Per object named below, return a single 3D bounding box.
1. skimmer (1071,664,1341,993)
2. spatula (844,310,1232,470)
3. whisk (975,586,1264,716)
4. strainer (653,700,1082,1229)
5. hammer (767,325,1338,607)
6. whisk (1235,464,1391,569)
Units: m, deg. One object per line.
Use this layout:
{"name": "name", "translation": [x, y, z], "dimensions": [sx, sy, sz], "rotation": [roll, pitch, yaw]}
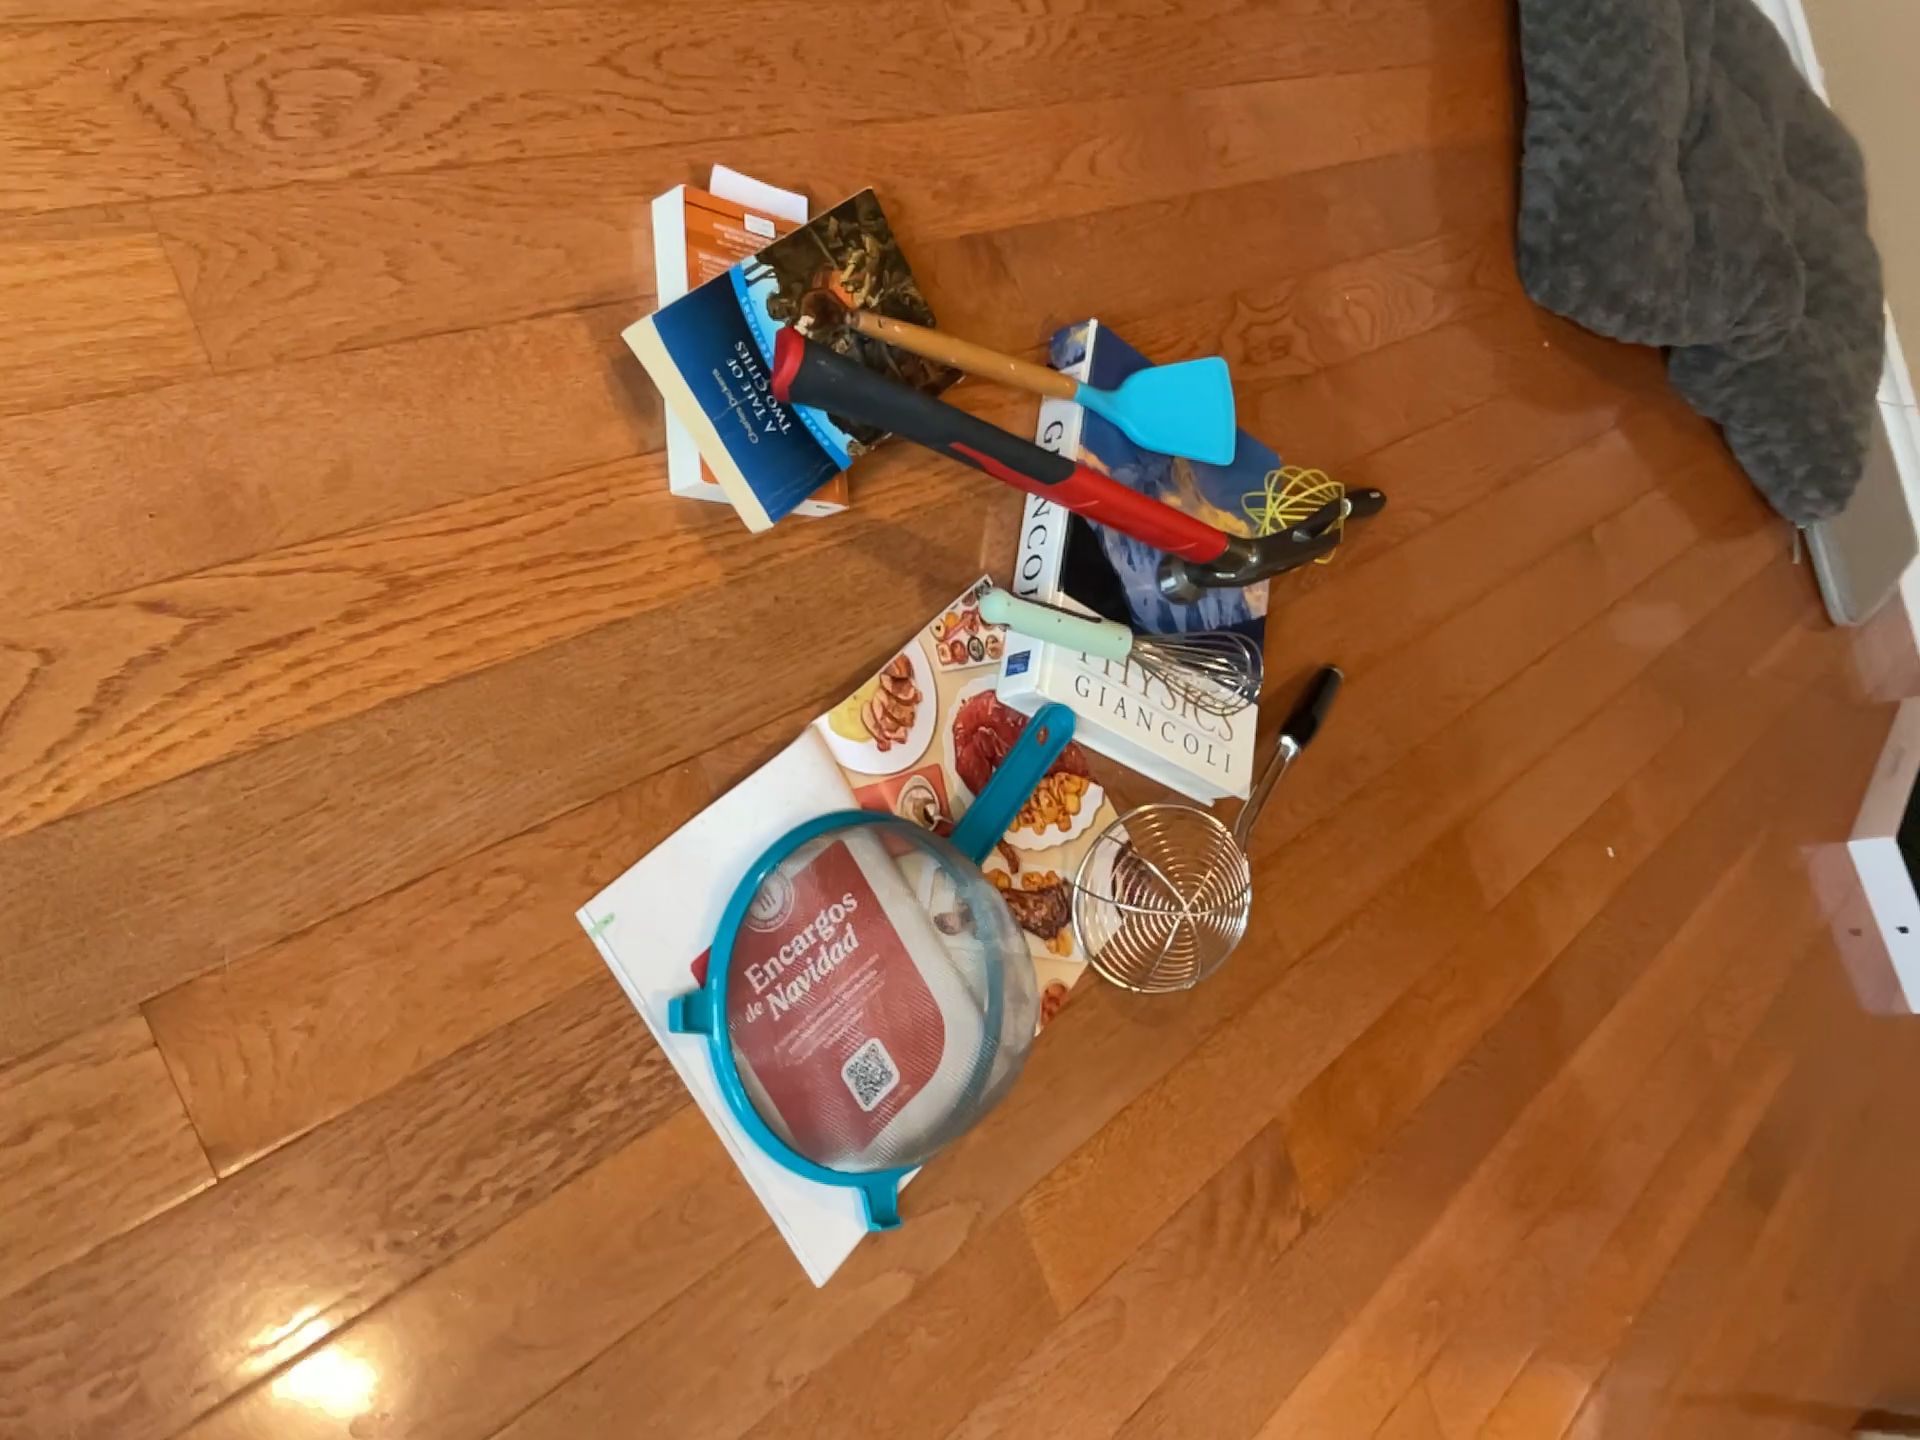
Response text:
{"name": "skimmer", "translation": [0.192, 0.056, 1.152], "dimensions": [0.127, 0.090, 0.364], "rotation": [59, 38, -13]}
{"name": "spatula", "translation": [0.059, -0.223, 1.025], "dimensions": [0.317, 0.044, 0.082], "rotation": [6, 79, -42]}
{"name": "whisk", "translation": [0.109, -0.049, 1.040], "dimensions": [0.246, 0.058, 0.059], "rotation": [14, 102, -36]}
{"name": "strainer", "translation": [0.001, 0.107, 0.903], "dimensions": [0.211, 0.095, 0.341], "rotation": [51, 58, -22]}
{"name": "hammer", "translation": [0.058, -0.153, 0.955], "dimensions": [0.386, 0.143, 0.038], "rotation": [17, 66, -37]}
{"name": "whisk", "translation": [0.289, -0.164, 1.247], "dimensions": [0.312, 0.067, 0.080], "rotation": [-20, 79, -58]}
